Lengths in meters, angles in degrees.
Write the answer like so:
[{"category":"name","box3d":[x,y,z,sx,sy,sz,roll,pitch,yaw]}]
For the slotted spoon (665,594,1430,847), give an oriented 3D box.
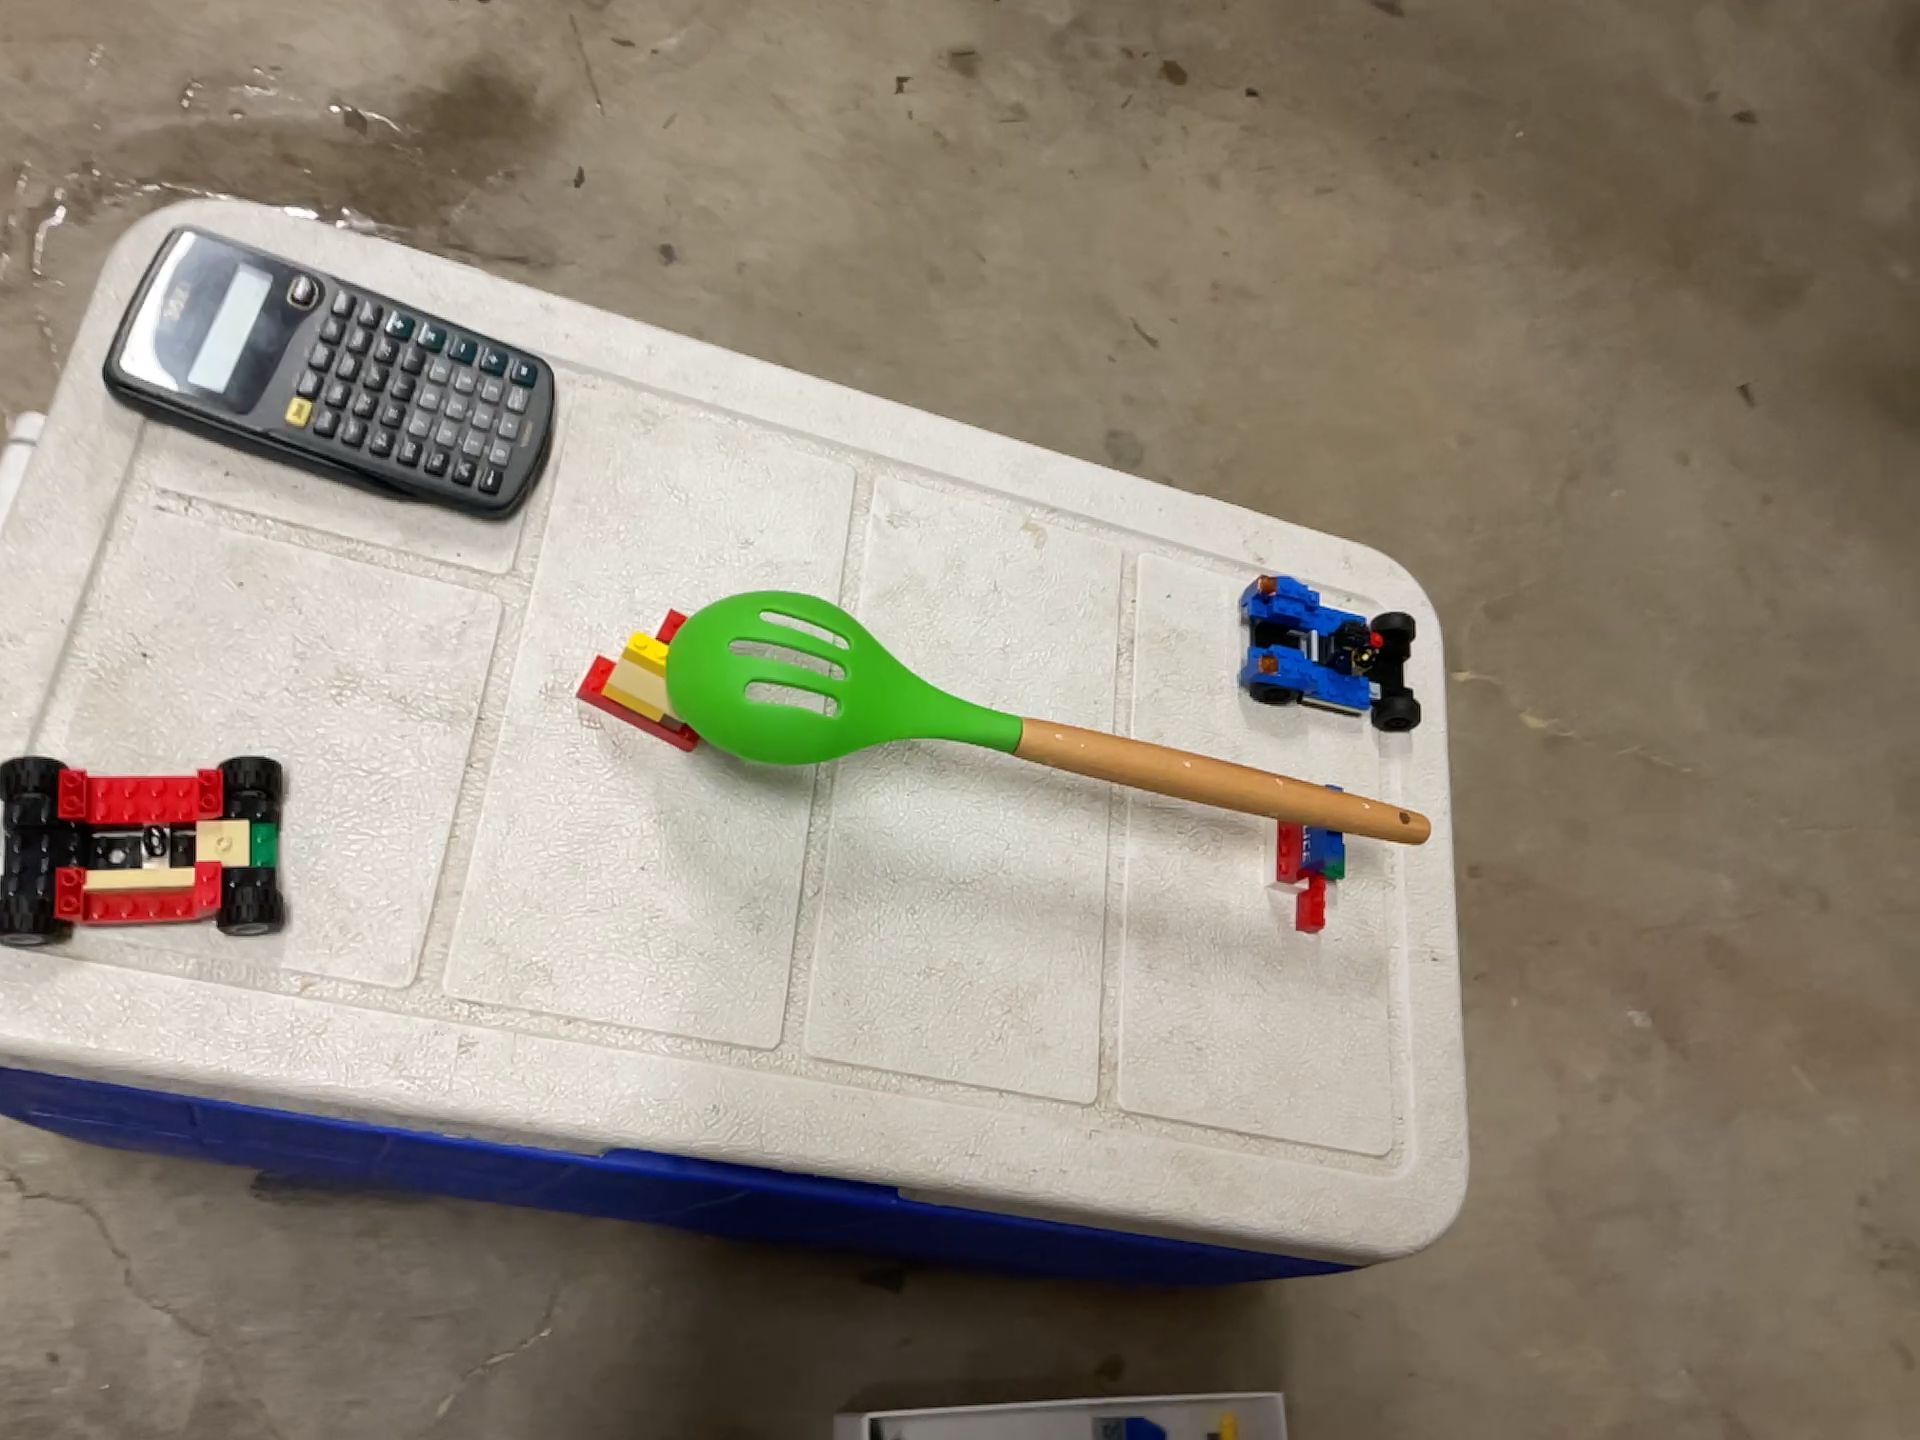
[{"category":"slotted spoon","box3d":[0.045,0.010,0.610,0.313,0.031,0.070,14,63,-17]}]
